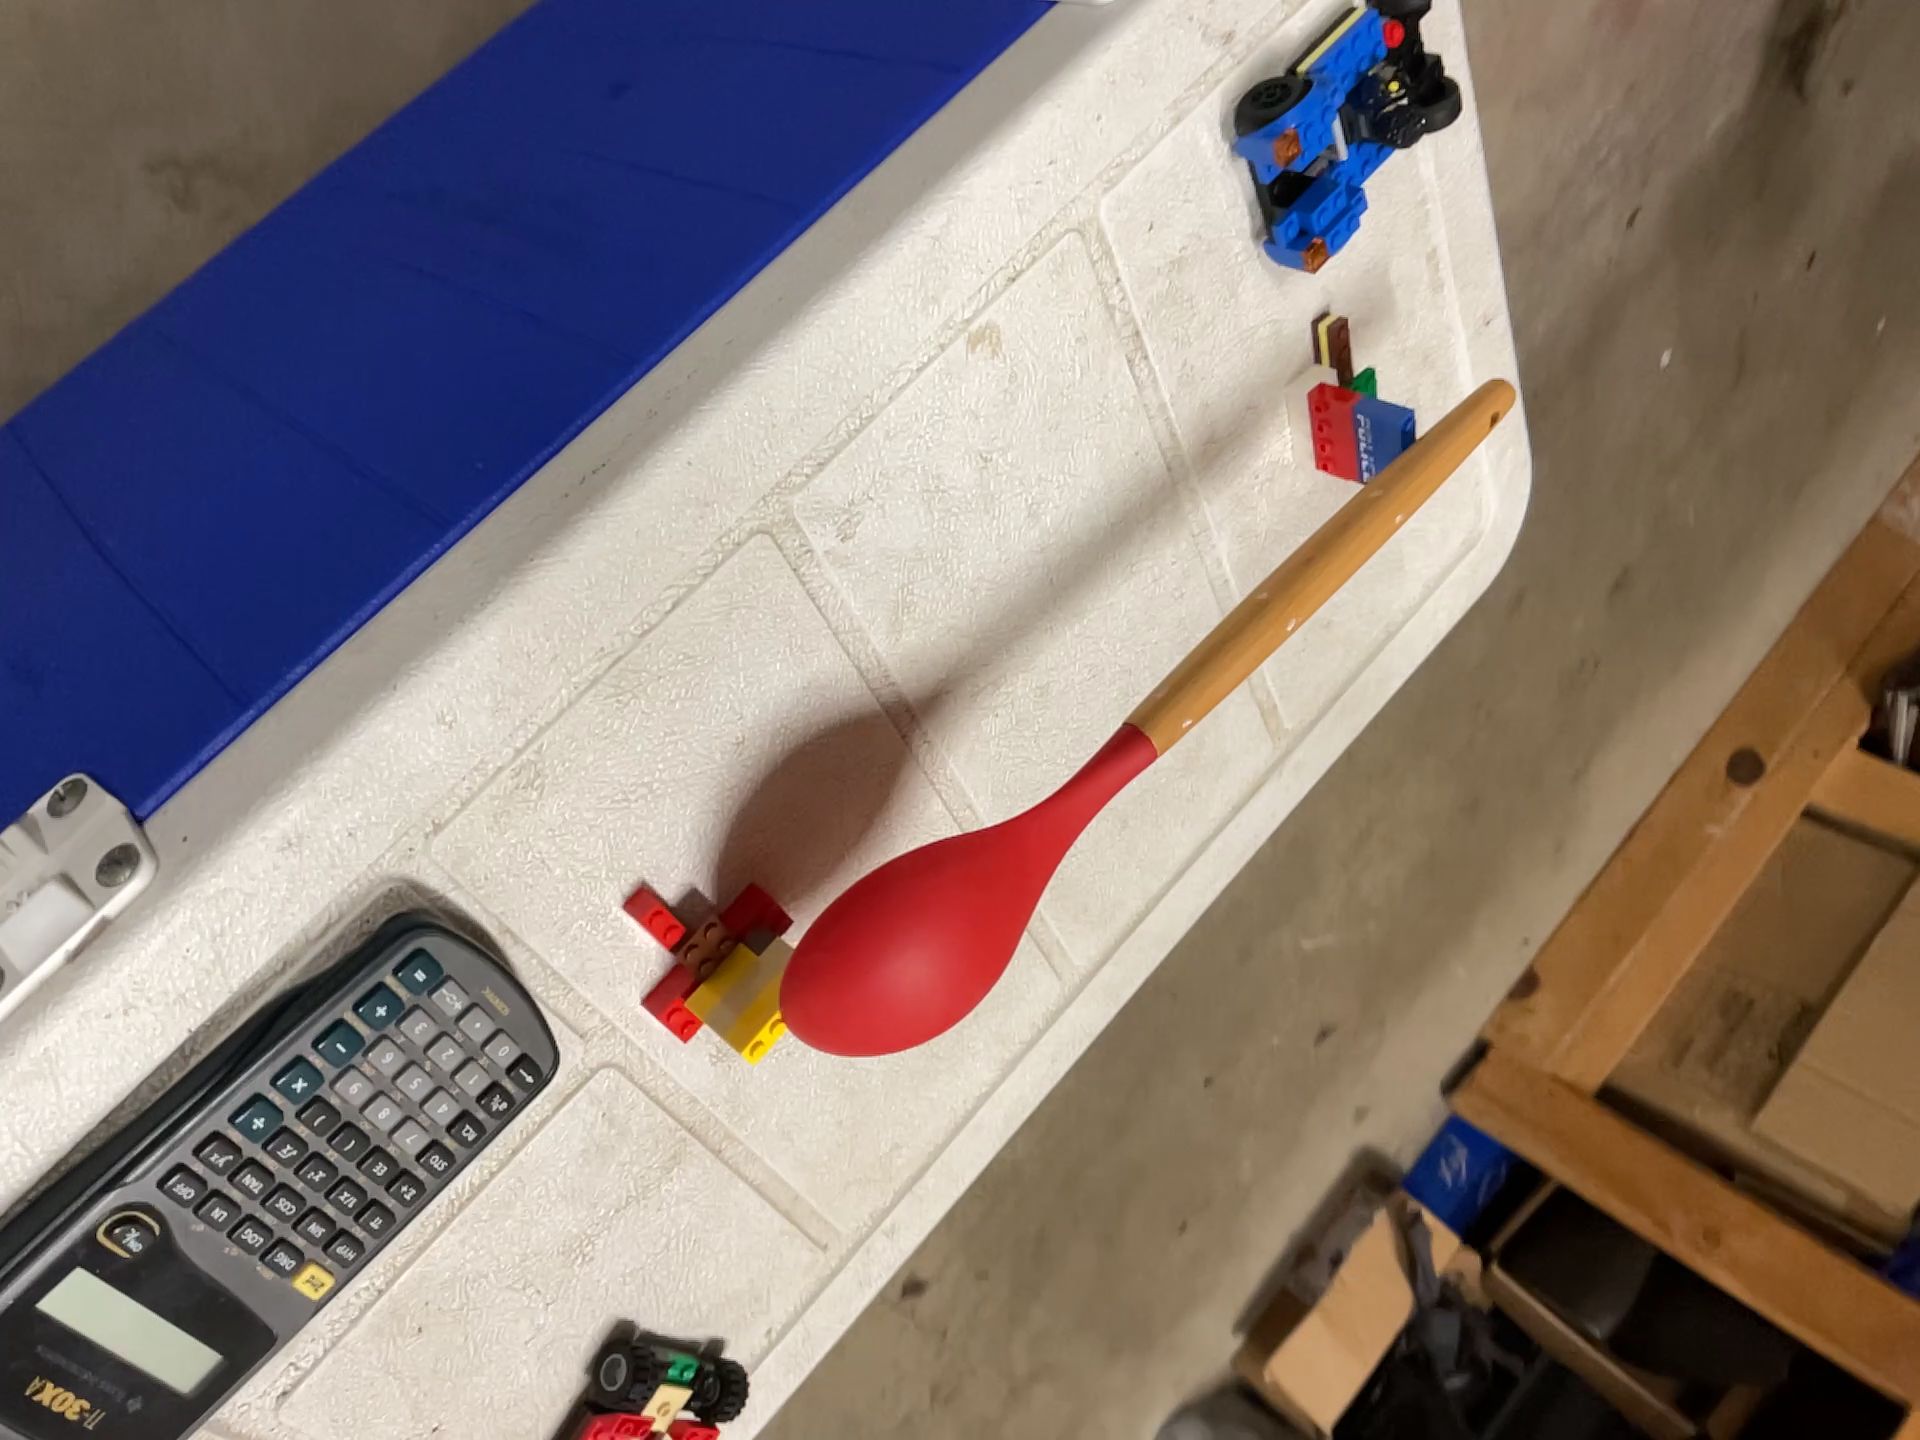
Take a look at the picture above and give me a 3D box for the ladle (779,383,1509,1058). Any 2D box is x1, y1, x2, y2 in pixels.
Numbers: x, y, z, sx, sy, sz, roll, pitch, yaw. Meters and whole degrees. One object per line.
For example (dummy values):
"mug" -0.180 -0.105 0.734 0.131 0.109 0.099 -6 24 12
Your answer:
"ladle" 0.071 -0.009 0.488 0.315 0.031 0.069 -42 135 -19
